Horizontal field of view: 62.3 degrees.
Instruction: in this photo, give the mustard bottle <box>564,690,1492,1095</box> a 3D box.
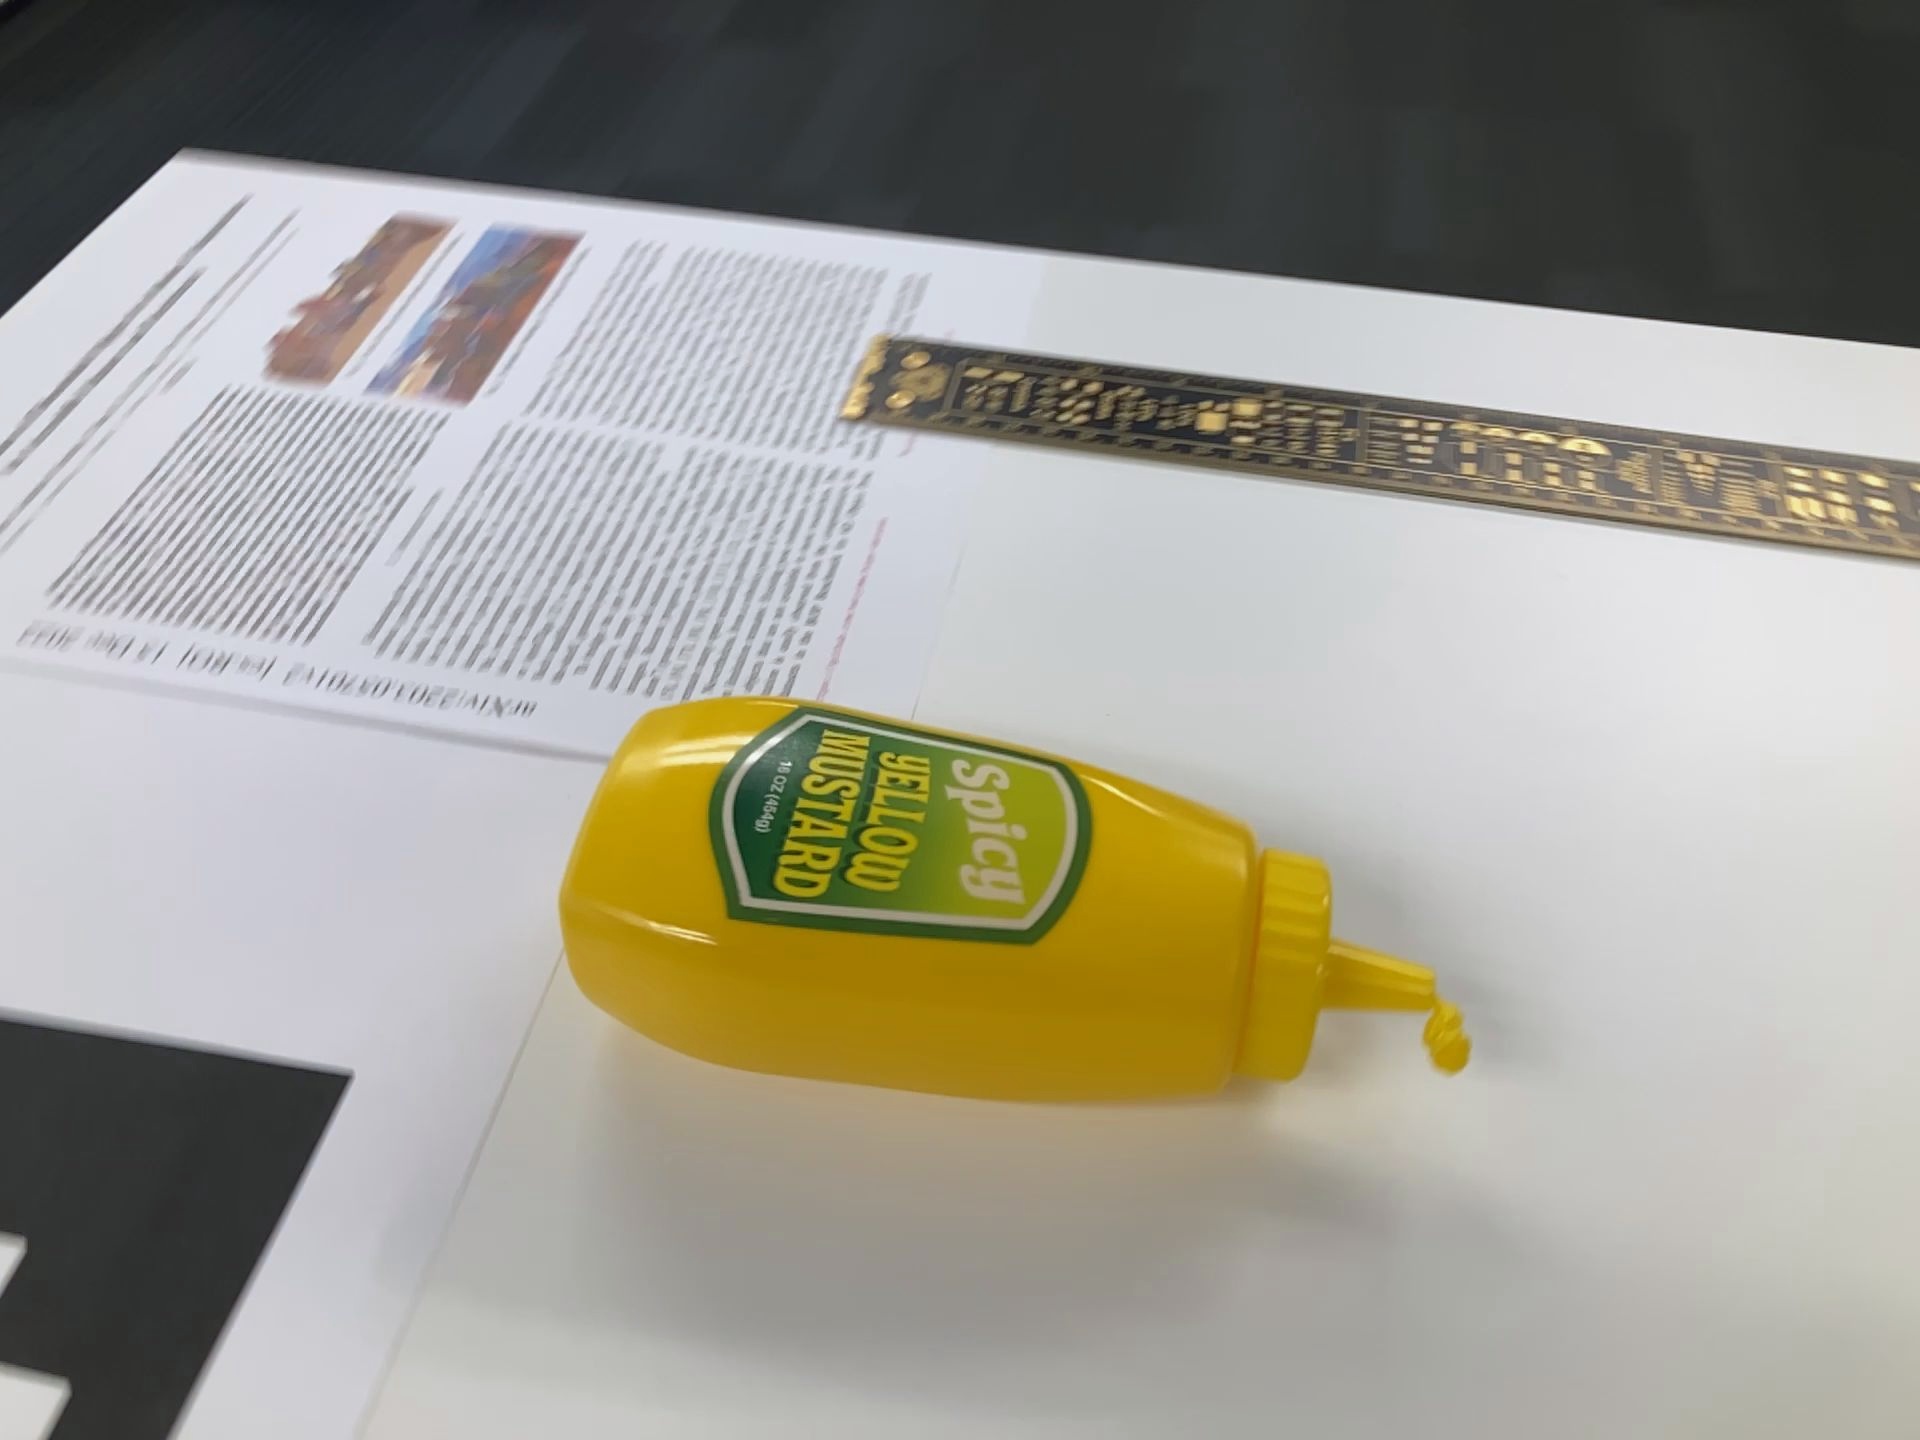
[{"bbox_3d":[0.014,0.034,0.284,0.160,0.049,0.065,8,49,7],"label":"mustard bottle"}]
